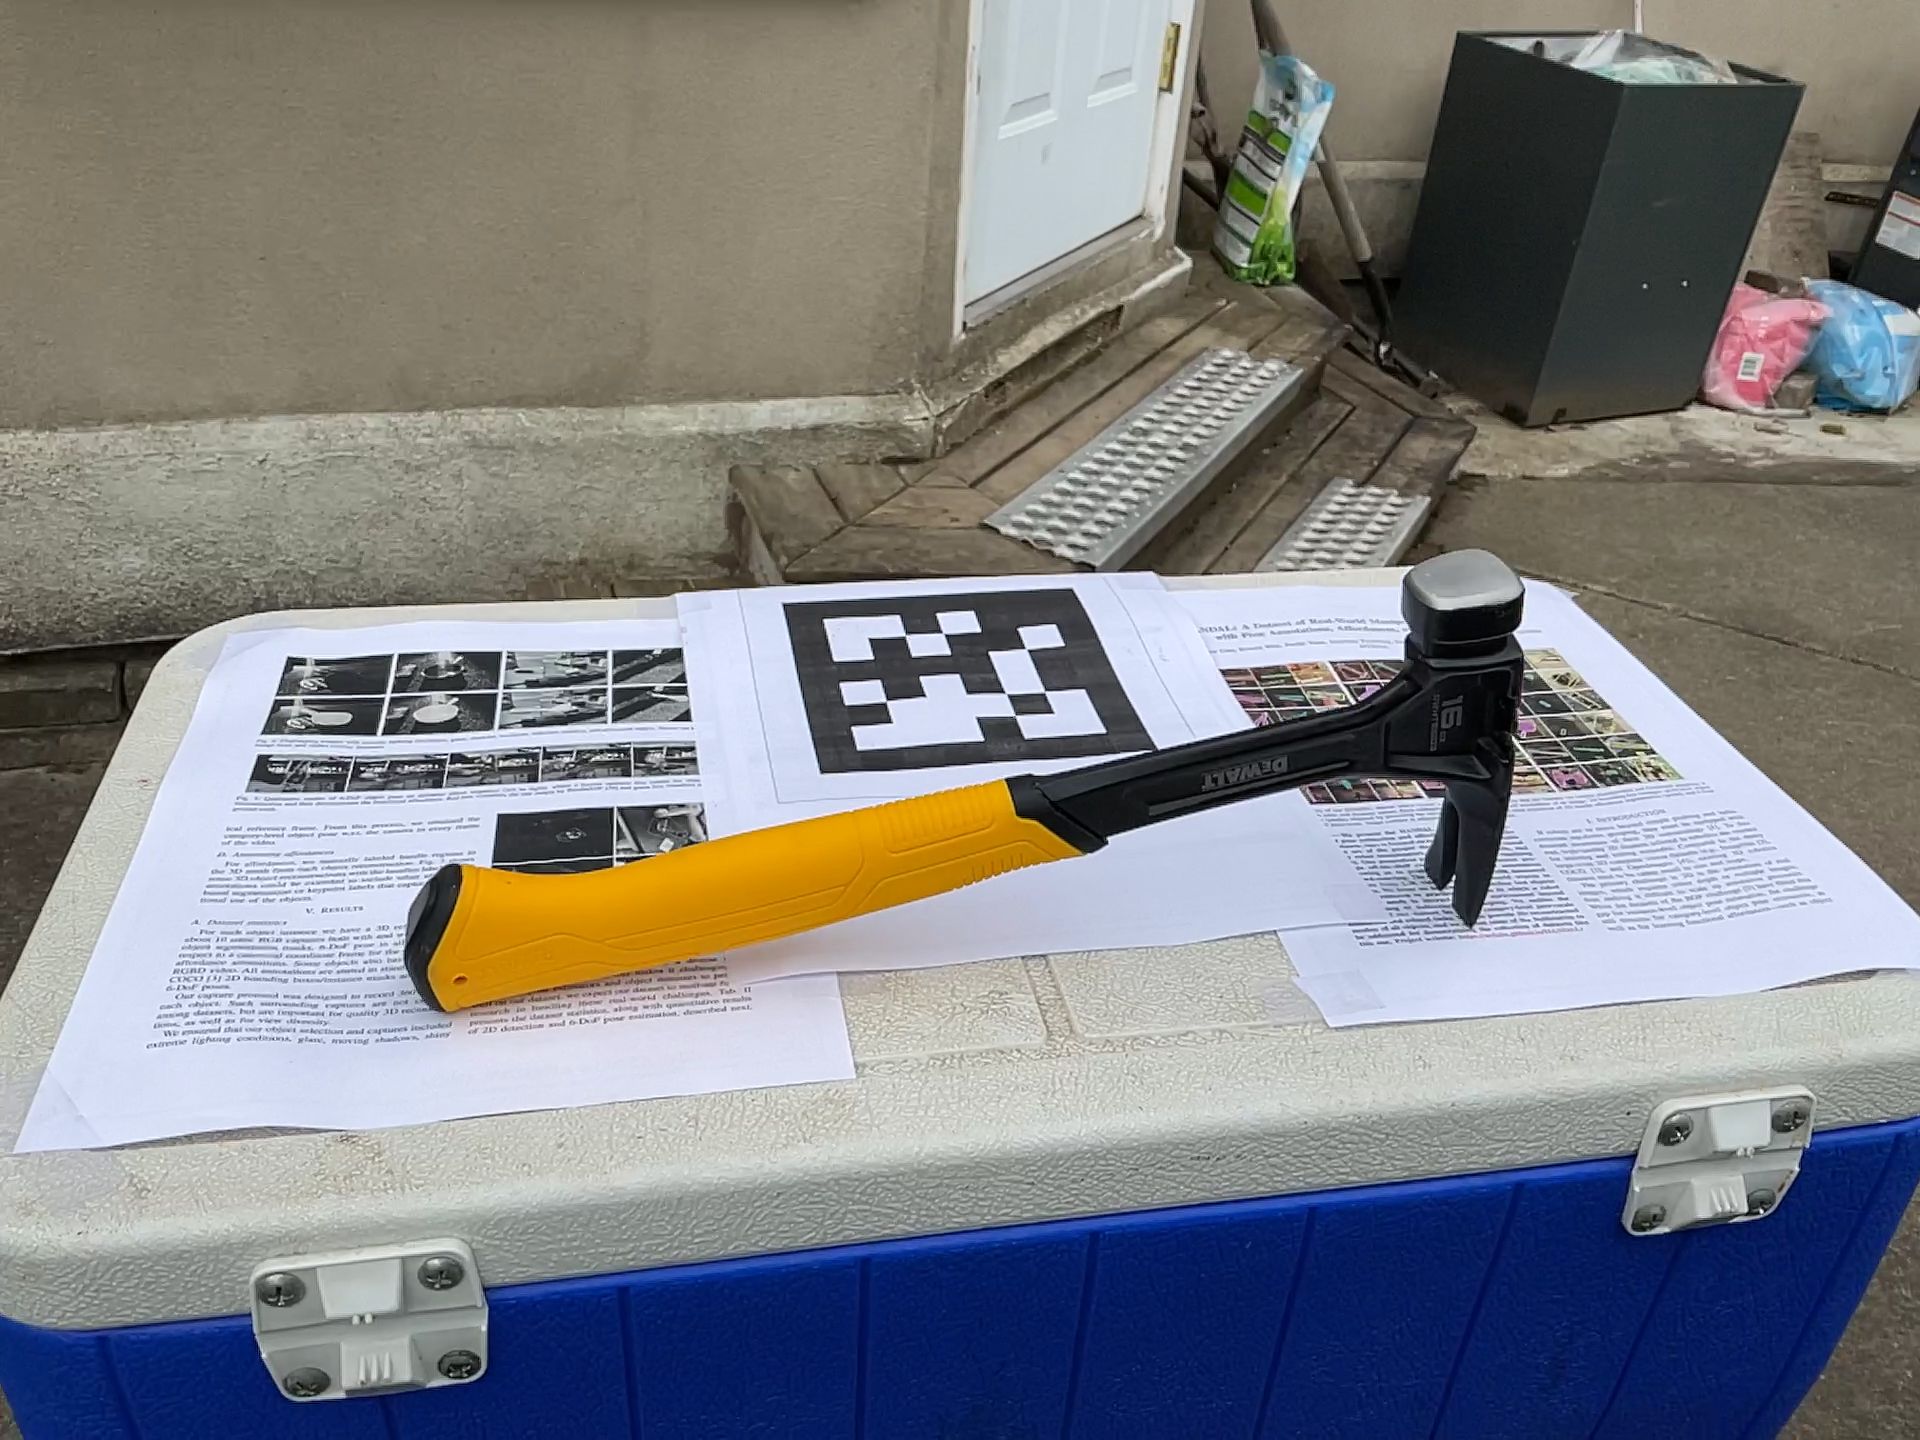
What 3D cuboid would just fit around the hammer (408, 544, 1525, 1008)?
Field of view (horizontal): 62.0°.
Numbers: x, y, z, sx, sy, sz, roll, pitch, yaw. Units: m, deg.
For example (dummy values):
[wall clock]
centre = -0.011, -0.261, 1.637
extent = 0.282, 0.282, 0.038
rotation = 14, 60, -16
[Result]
[hammer]
centre = 0.007, 0.038, 0.484
extent = 0.336, 0.127, 0.034
rotation = -12, 34, -6
